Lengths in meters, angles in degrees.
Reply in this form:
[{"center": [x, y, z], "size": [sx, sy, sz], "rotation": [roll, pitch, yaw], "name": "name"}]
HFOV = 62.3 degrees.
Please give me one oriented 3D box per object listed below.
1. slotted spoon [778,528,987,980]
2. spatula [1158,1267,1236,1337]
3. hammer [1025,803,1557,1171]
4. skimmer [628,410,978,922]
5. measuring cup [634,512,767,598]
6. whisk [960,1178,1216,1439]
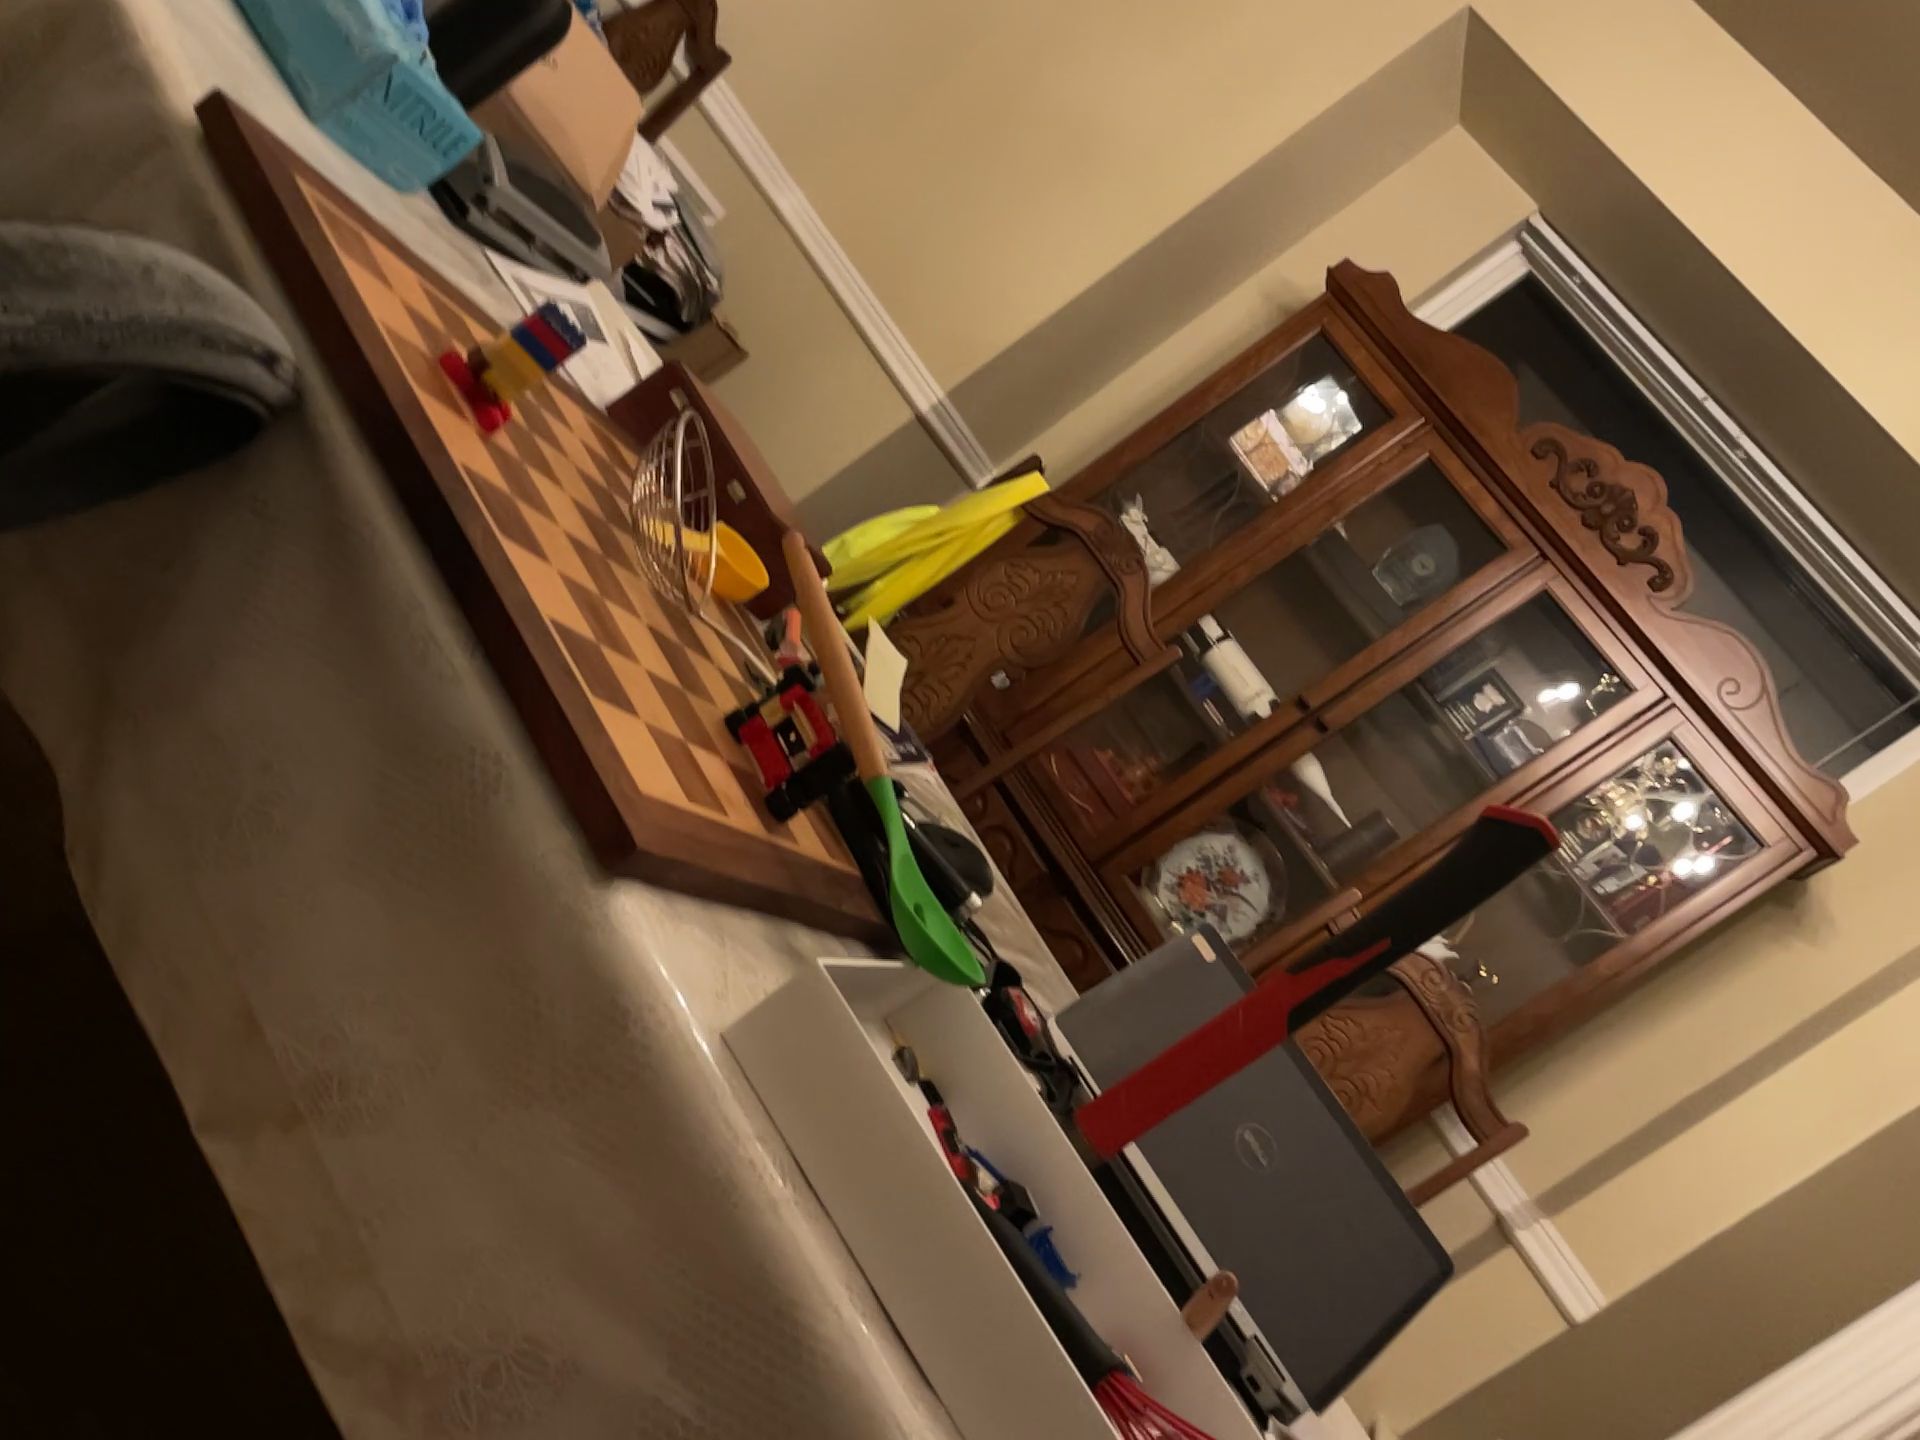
[{"center": [-0.054, 0.013, 0.908], "size": [0.070, 0.031, 0.314], "rotation": [42, 23, -59], "name": "slotted spoon"}, {"center": [0.139, 0.346, 0.923], "size": [0.082, 0.044, 0.317], "rotation": [58, -14, 25], "name": "spatula"}, {"center": [0.210, 0.188, 0.985], "size": [0.143, 0.386, 0.038], "rotation": [57, 6, 22], "name": "hammer"}, {"center": [-0.089, -0.032, 1.024], "size": [0.363, 0.090, 0.127], "rotation": [50, 4, -4], "name": "skimmer"}, {"center": [-0.193, -0.122, 1.139], "size": [0.062, 0.029, 0.156], "rotation": [59, 19, 18], "name": "measuring cup"}, {"center": [0.074, 0.302, 0.691], "size": [0.296, 0.073, 0.073], "rotation": [40, -25, 45], "name": "whisk"}]
